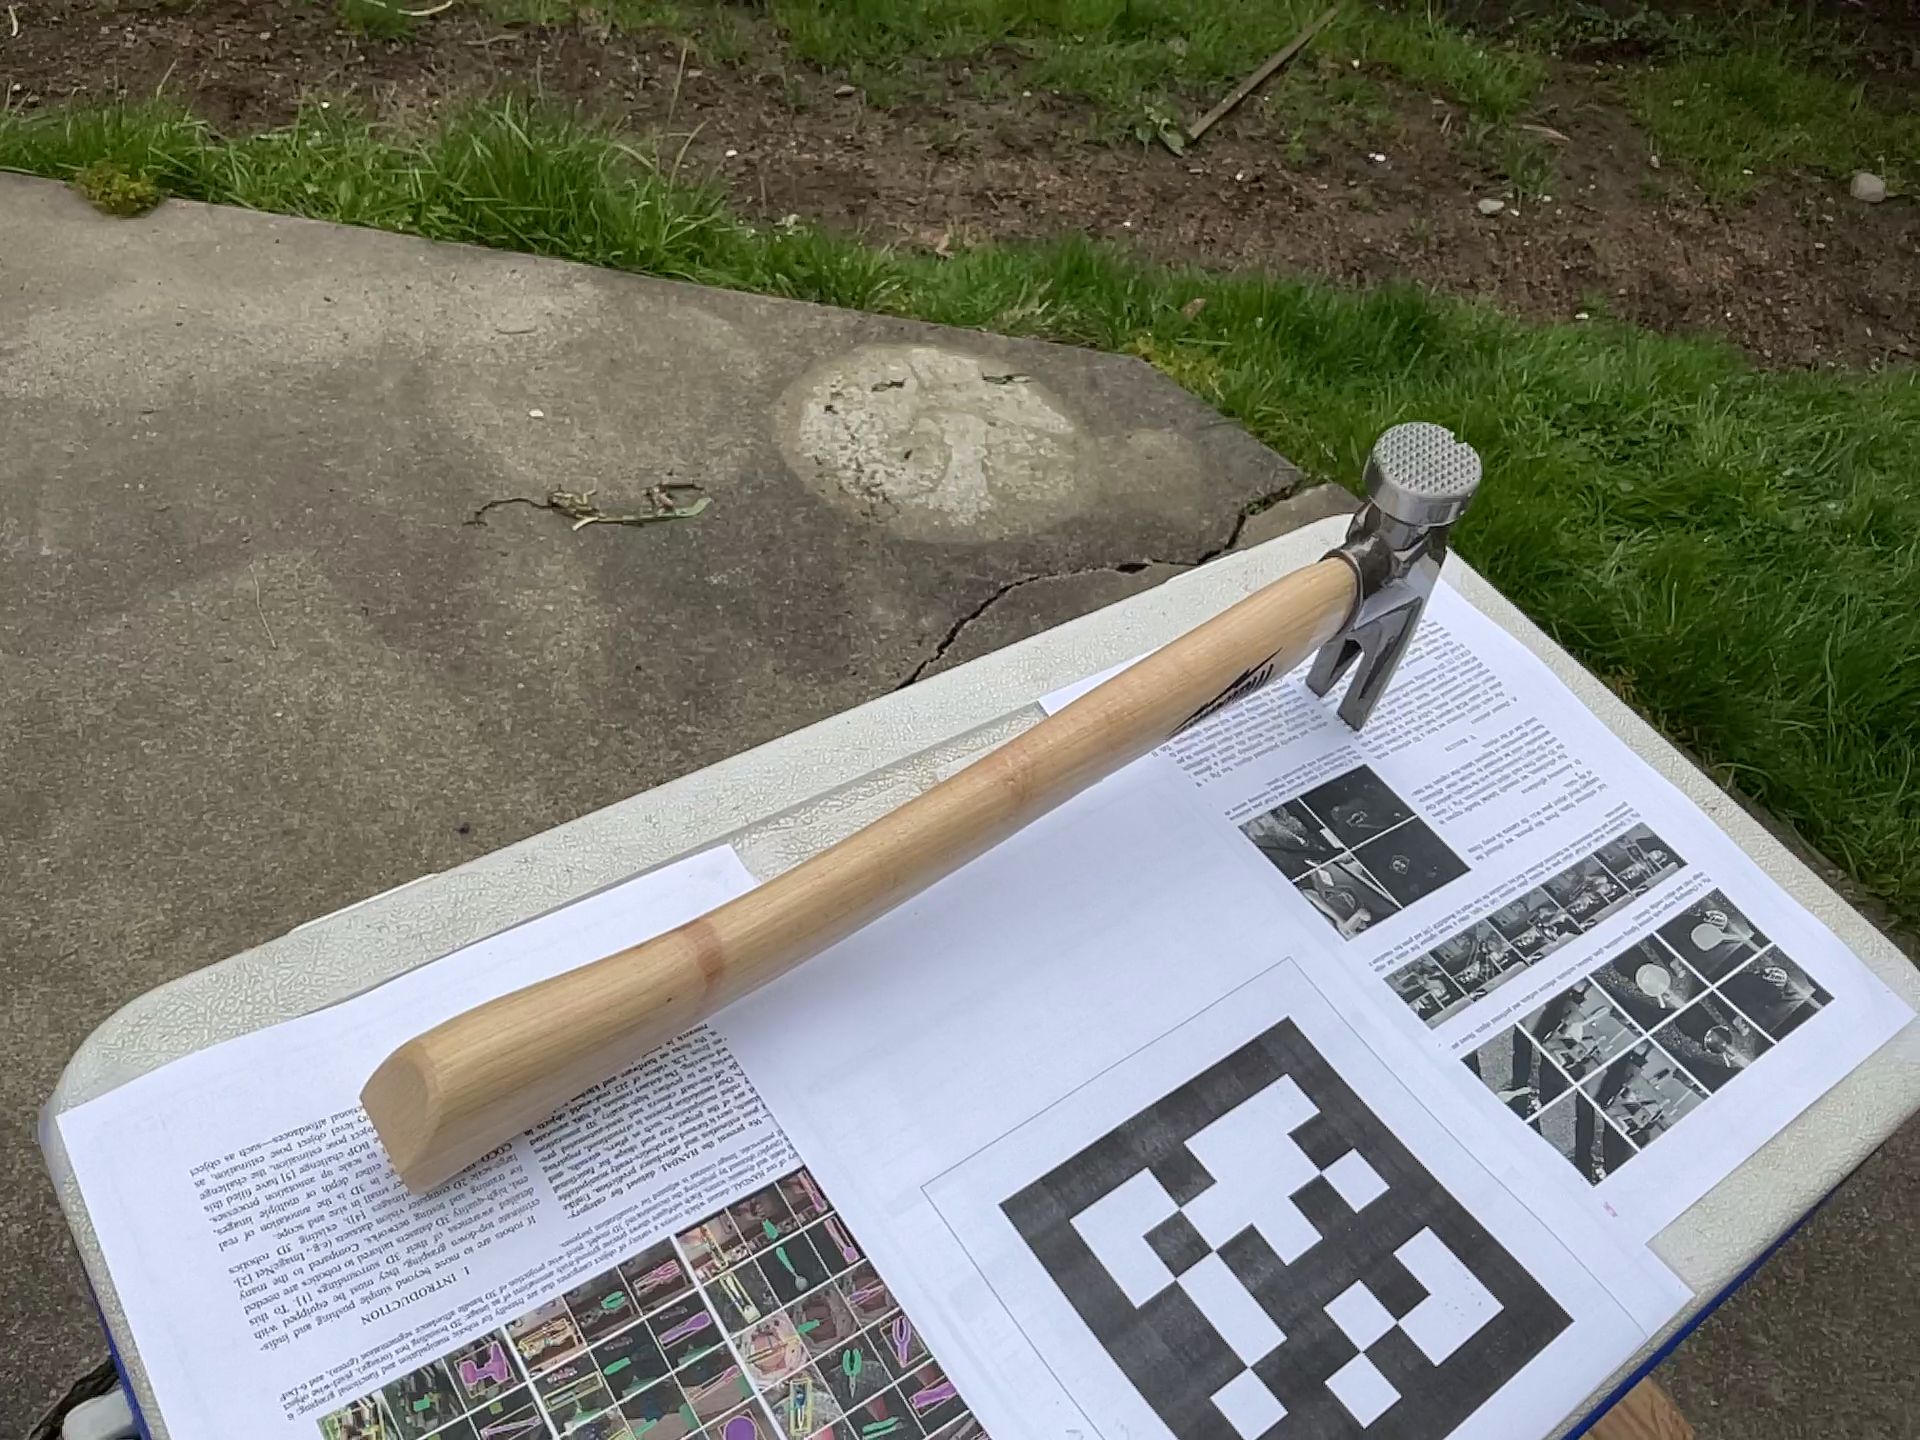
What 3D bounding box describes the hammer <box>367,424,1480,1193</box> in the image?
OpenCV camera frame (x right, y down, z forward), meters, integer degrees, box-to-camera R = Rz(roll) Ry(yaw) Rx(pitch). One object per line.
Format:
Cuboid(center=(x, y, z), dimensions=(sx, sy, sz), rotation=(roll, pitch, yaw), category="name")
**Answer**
Cuboid(center=(0.006, 0.036, 0.539), dimensions=(0.410, 0.146, 0.038), rotation=(-29, 60, -22), category="hammer")
